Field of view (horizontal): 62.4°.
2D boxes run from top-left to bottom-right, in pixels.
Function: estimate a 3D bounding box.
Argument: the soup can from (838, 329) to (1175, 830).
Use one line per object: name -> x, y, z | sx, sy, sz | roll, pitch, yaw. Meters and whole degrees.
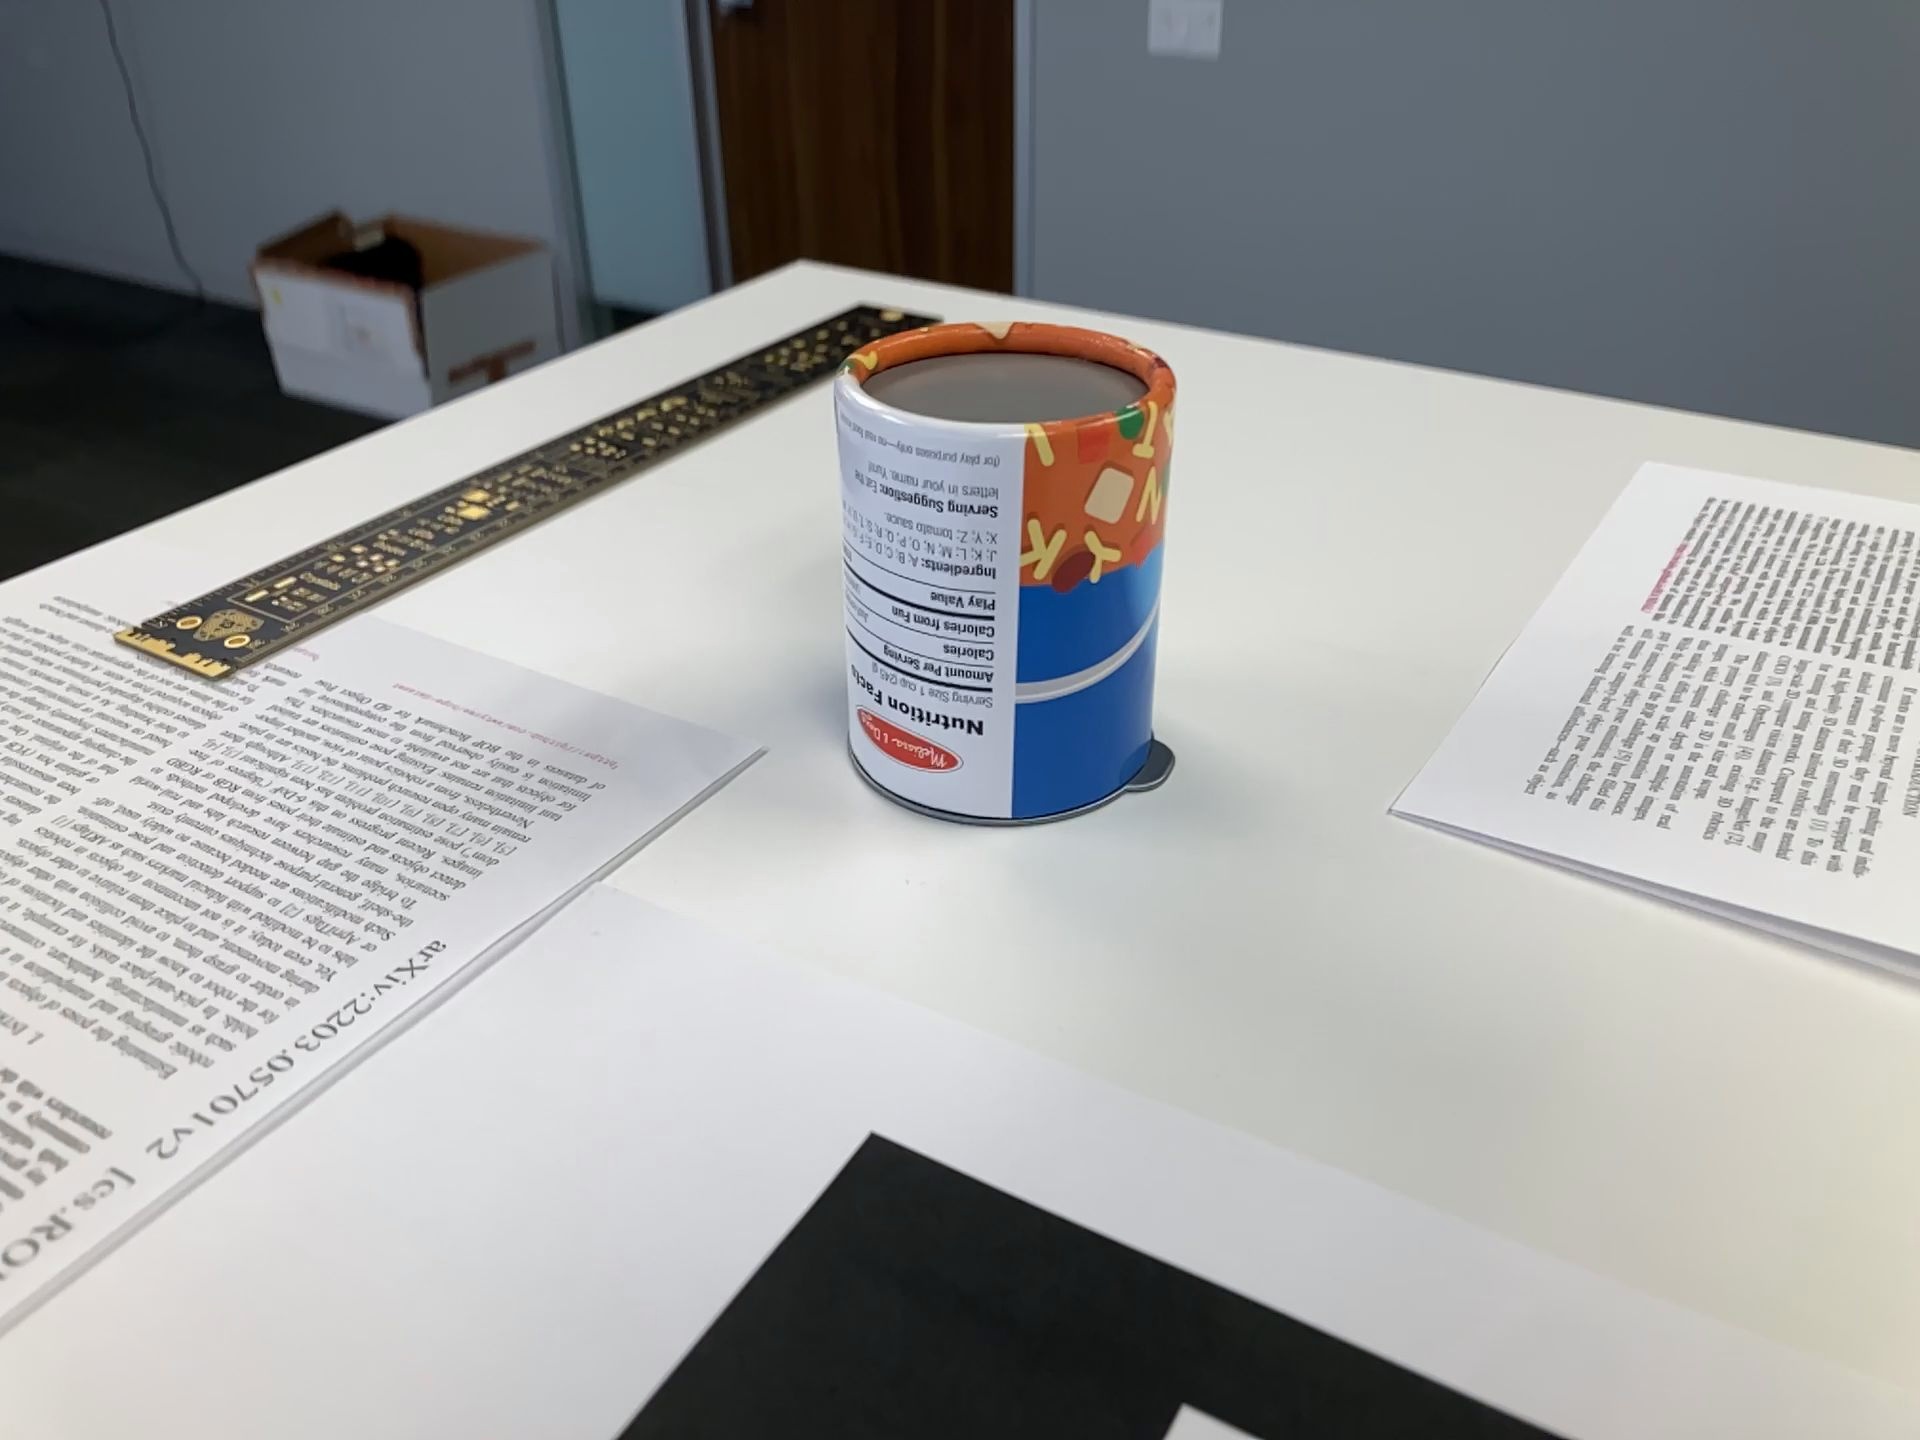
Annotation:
soup can -> 0.010, -0.032, 0.329 | 0.071, 0.084, 0.071 | 0, 31, 0
